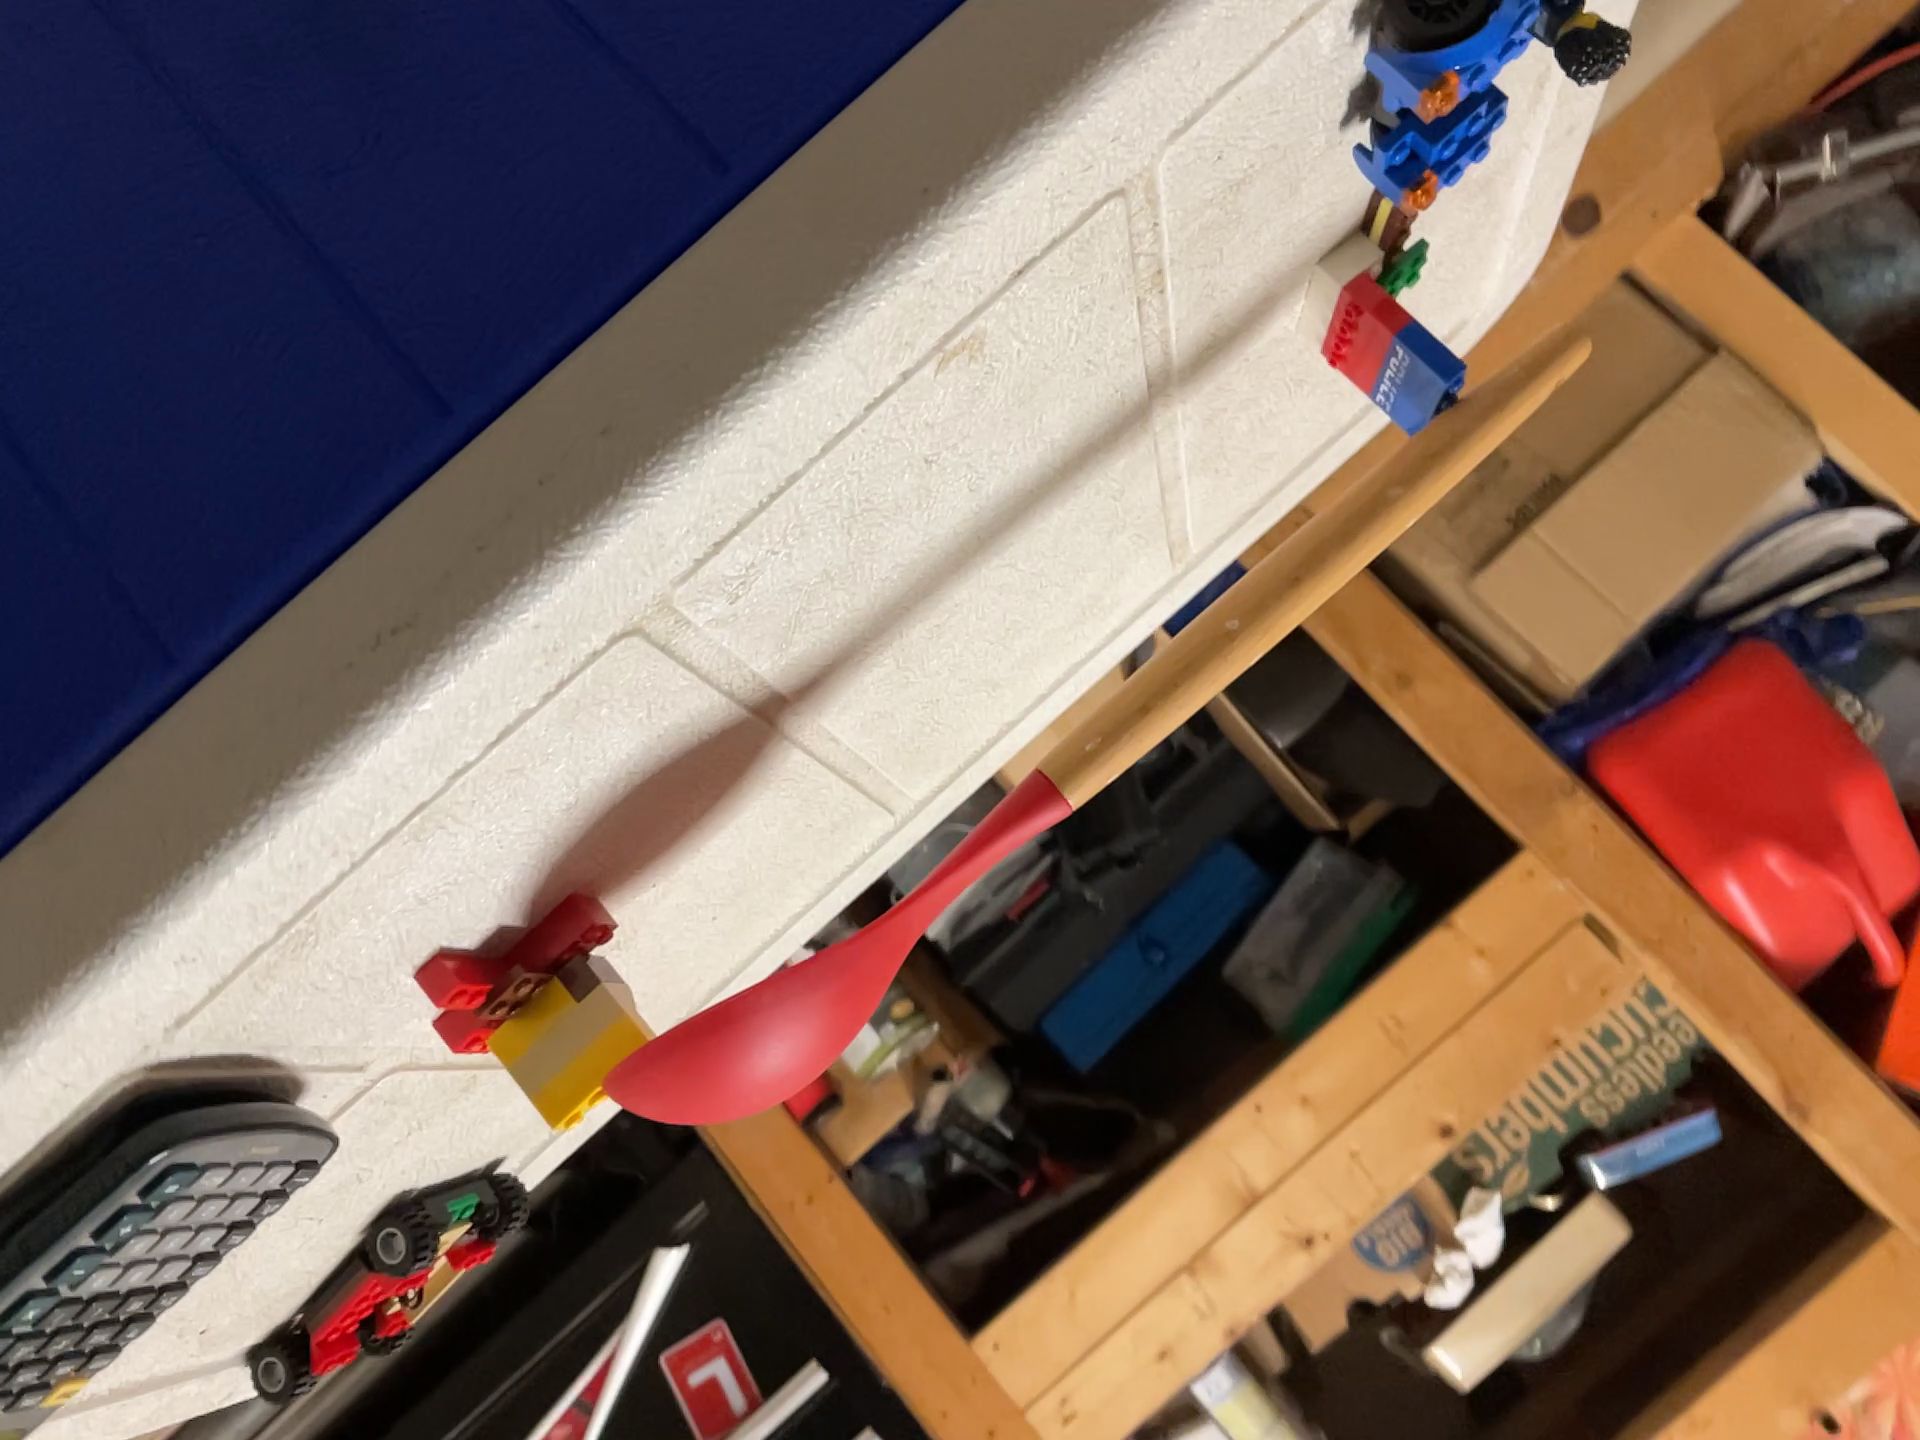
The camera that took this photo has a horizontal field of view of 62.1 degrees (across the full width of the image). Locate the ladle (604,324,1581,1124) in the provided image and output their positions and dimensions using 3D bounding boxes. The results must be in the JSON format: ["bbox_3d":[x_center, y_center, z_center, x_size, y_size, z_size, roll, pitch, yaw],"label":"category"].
[{"bbox_3d":[0.042,0.000,0.407,0.315,0.031,0.069,-41,164,-6],"label":"ladle"}]
